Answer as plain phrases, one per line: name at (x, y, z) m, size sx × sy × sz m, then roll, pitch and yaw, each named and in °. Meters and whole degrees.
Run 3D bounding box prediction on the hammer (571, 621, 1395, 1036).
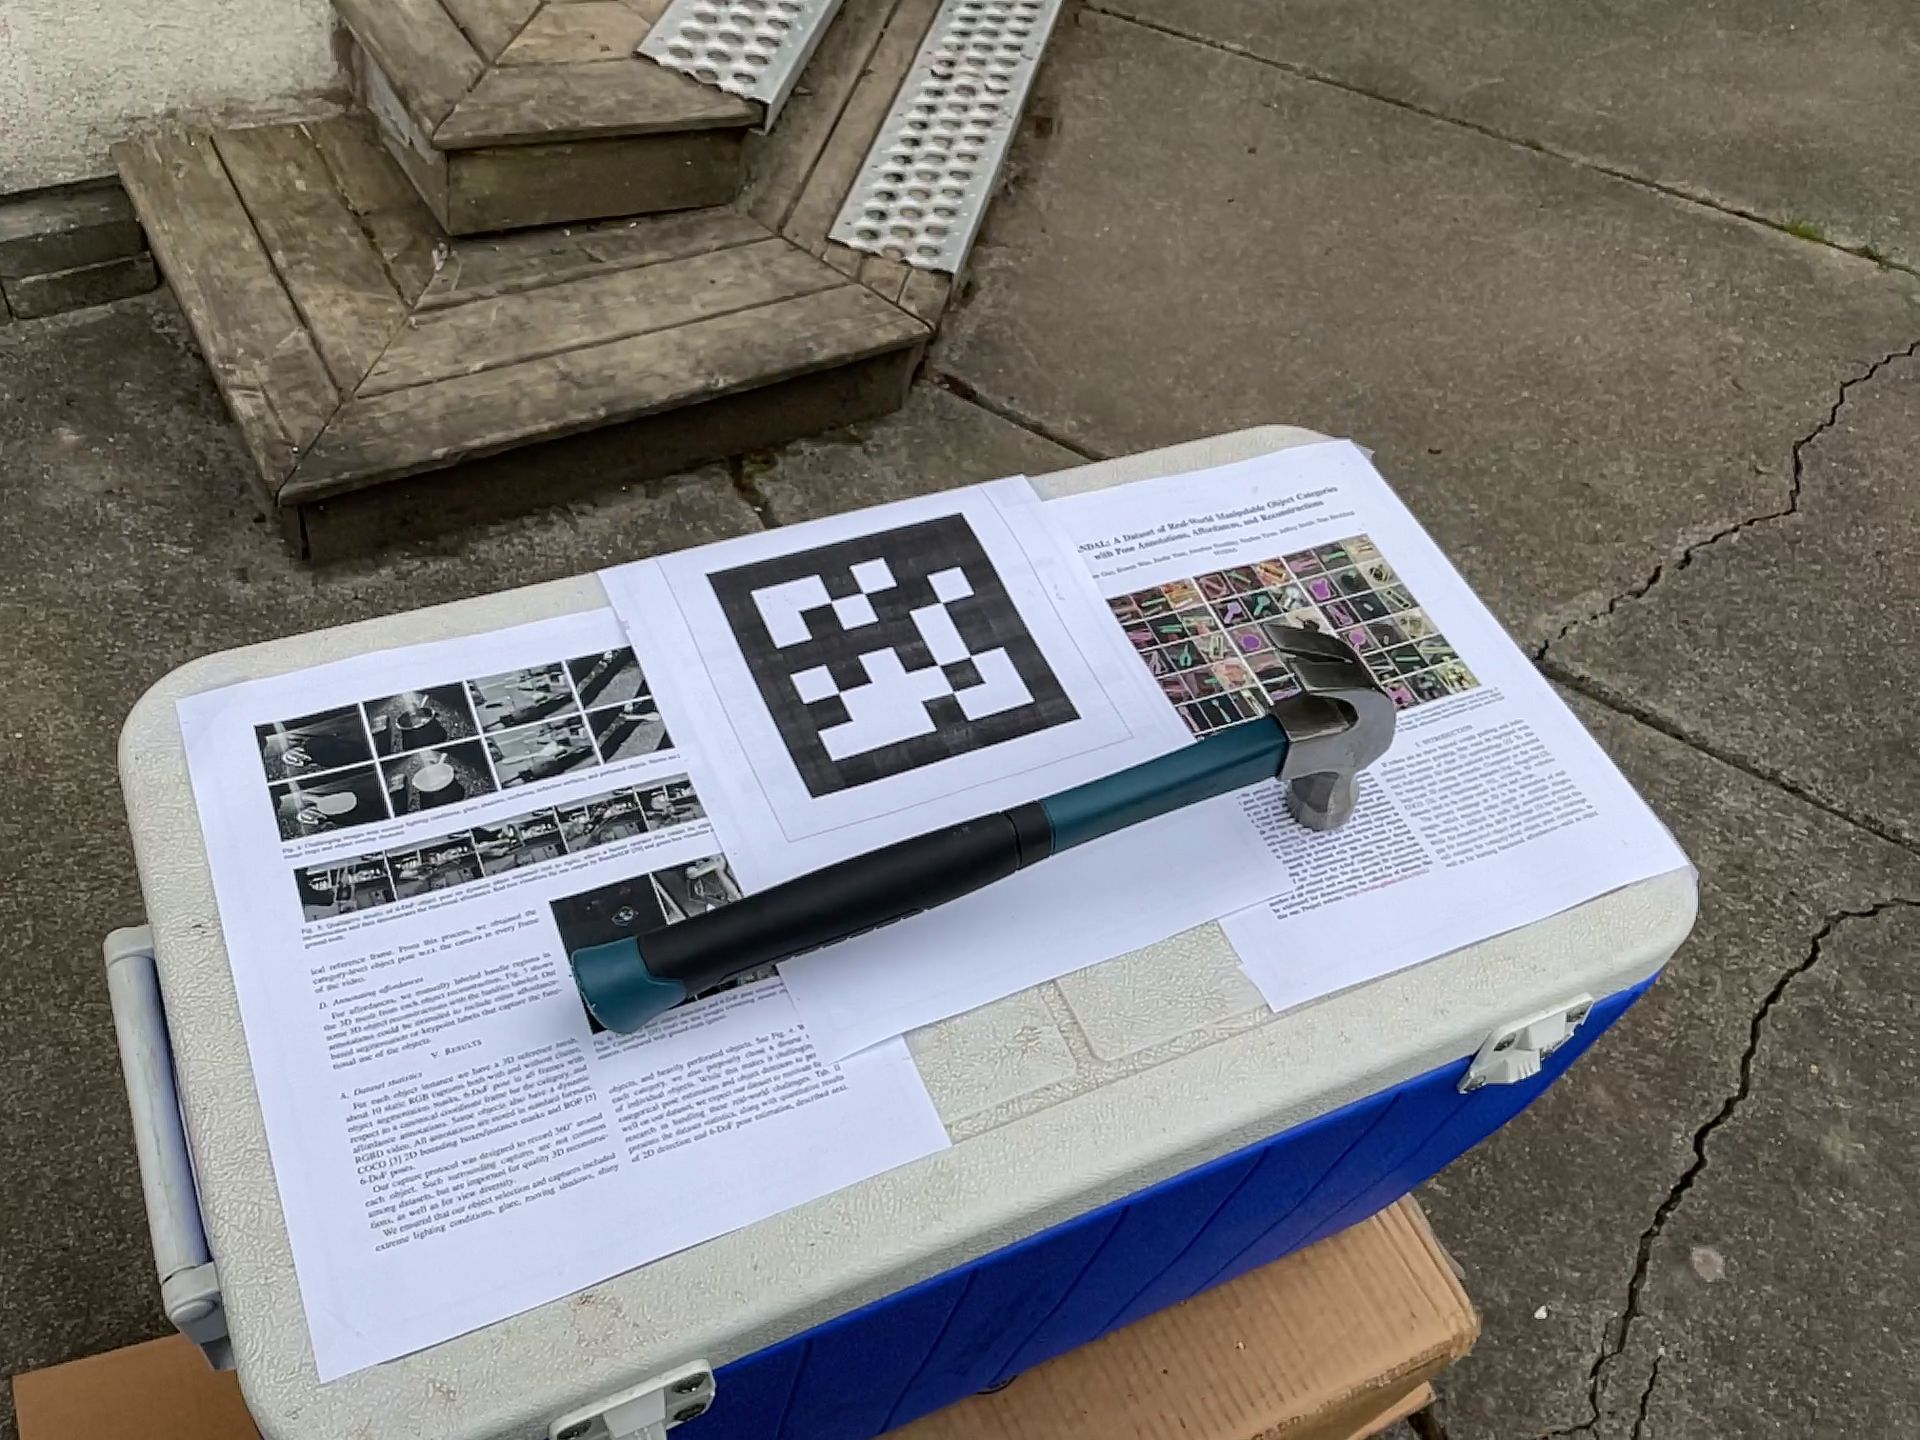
hammer at (0.019, 0.047, 0.604) m, size 0.331 × 0.128 × 0.033 m, roll -19°, pitch 56°, yaw -14°
